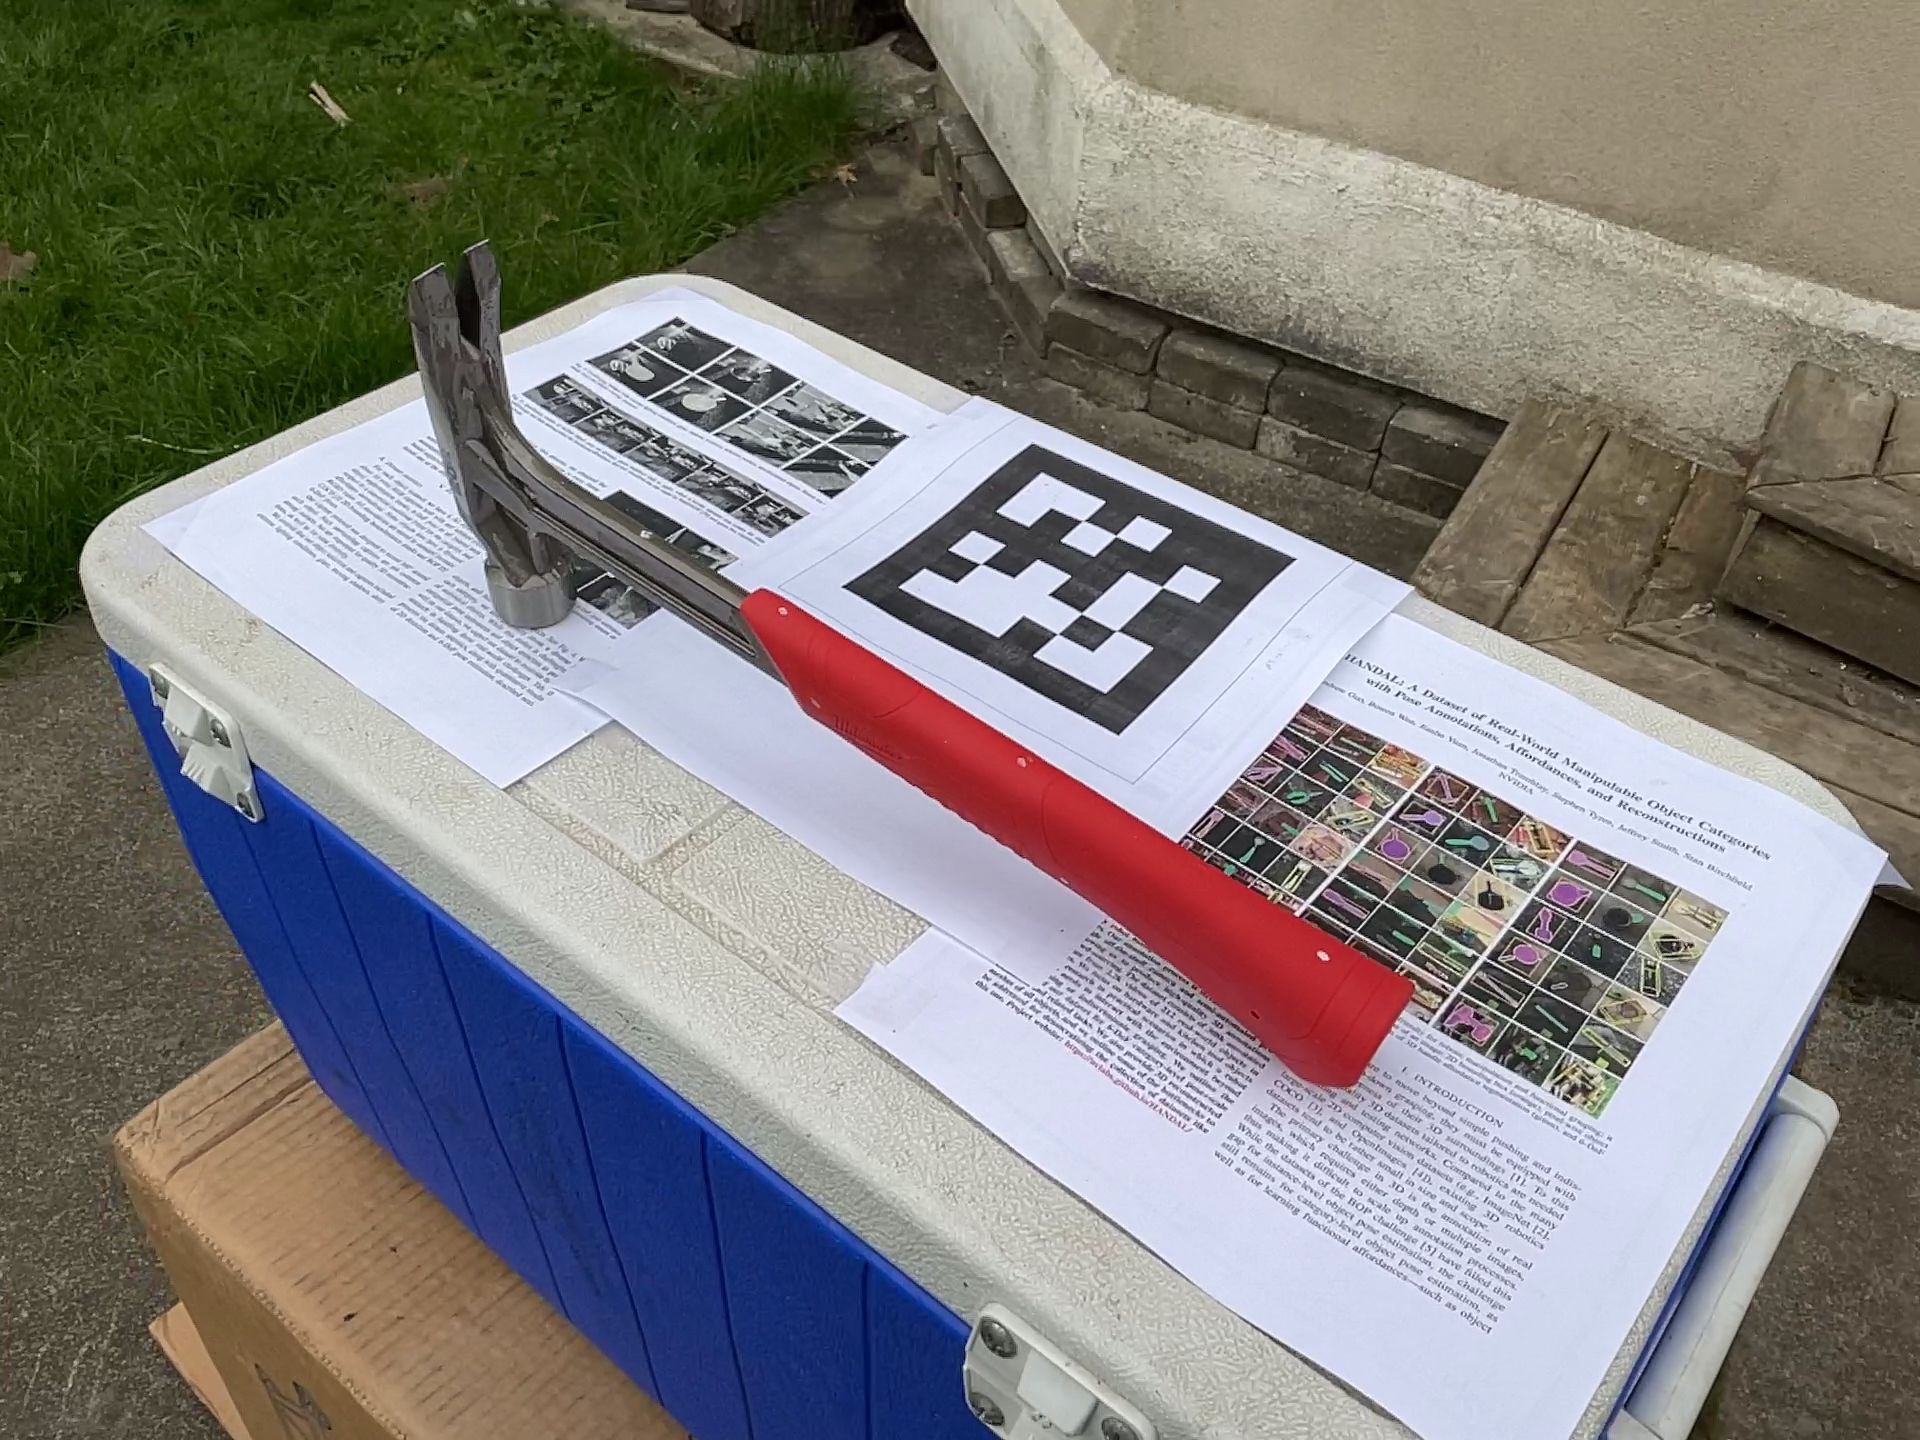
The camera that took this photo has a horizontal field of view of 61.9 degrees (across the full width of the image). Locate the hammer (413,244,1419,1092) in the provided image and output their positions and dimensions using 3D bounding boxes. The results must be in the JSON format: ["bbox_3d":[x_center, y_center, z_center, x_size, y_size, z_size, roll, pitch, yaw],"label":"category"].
[{"bbox_3d":[-0.026,-0.009,0.488,0.359,0.149,0.036,32,55,20],"label":"hammer"}]
